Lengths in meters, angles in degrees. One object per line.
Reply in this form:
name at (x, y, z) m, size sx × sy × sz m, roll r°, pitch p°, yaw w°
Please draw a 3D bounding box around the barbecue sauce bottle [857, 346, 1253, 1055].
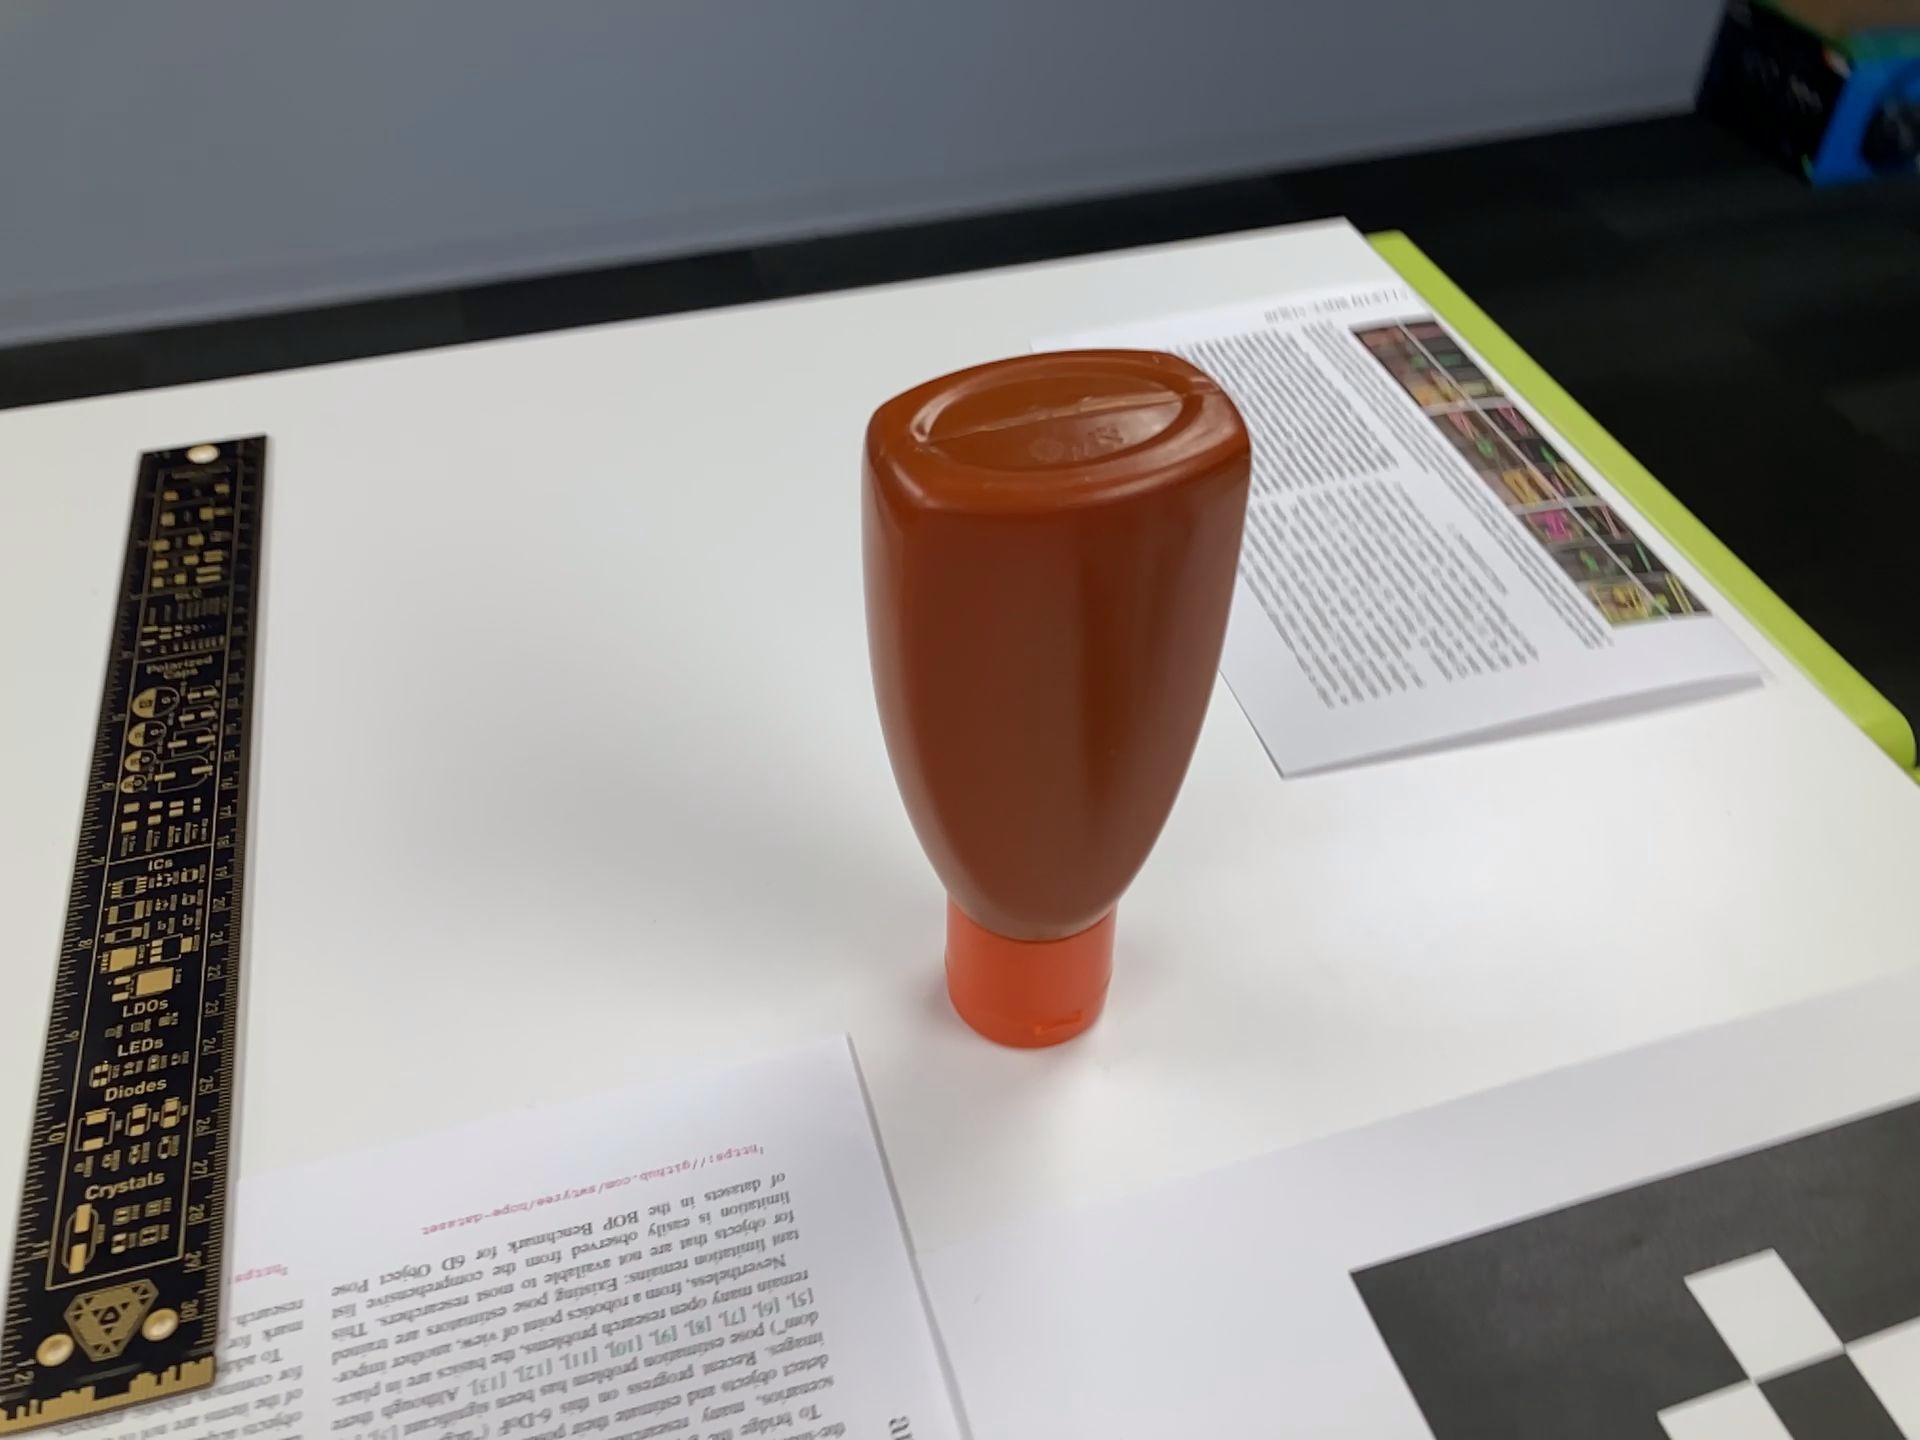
barbecue sauce bottle at (0.015, 0.006, 0.300) m, size 0.065 × 0.148 × 0.043 m, roll -13°, pitch 44°, yaw -13°
